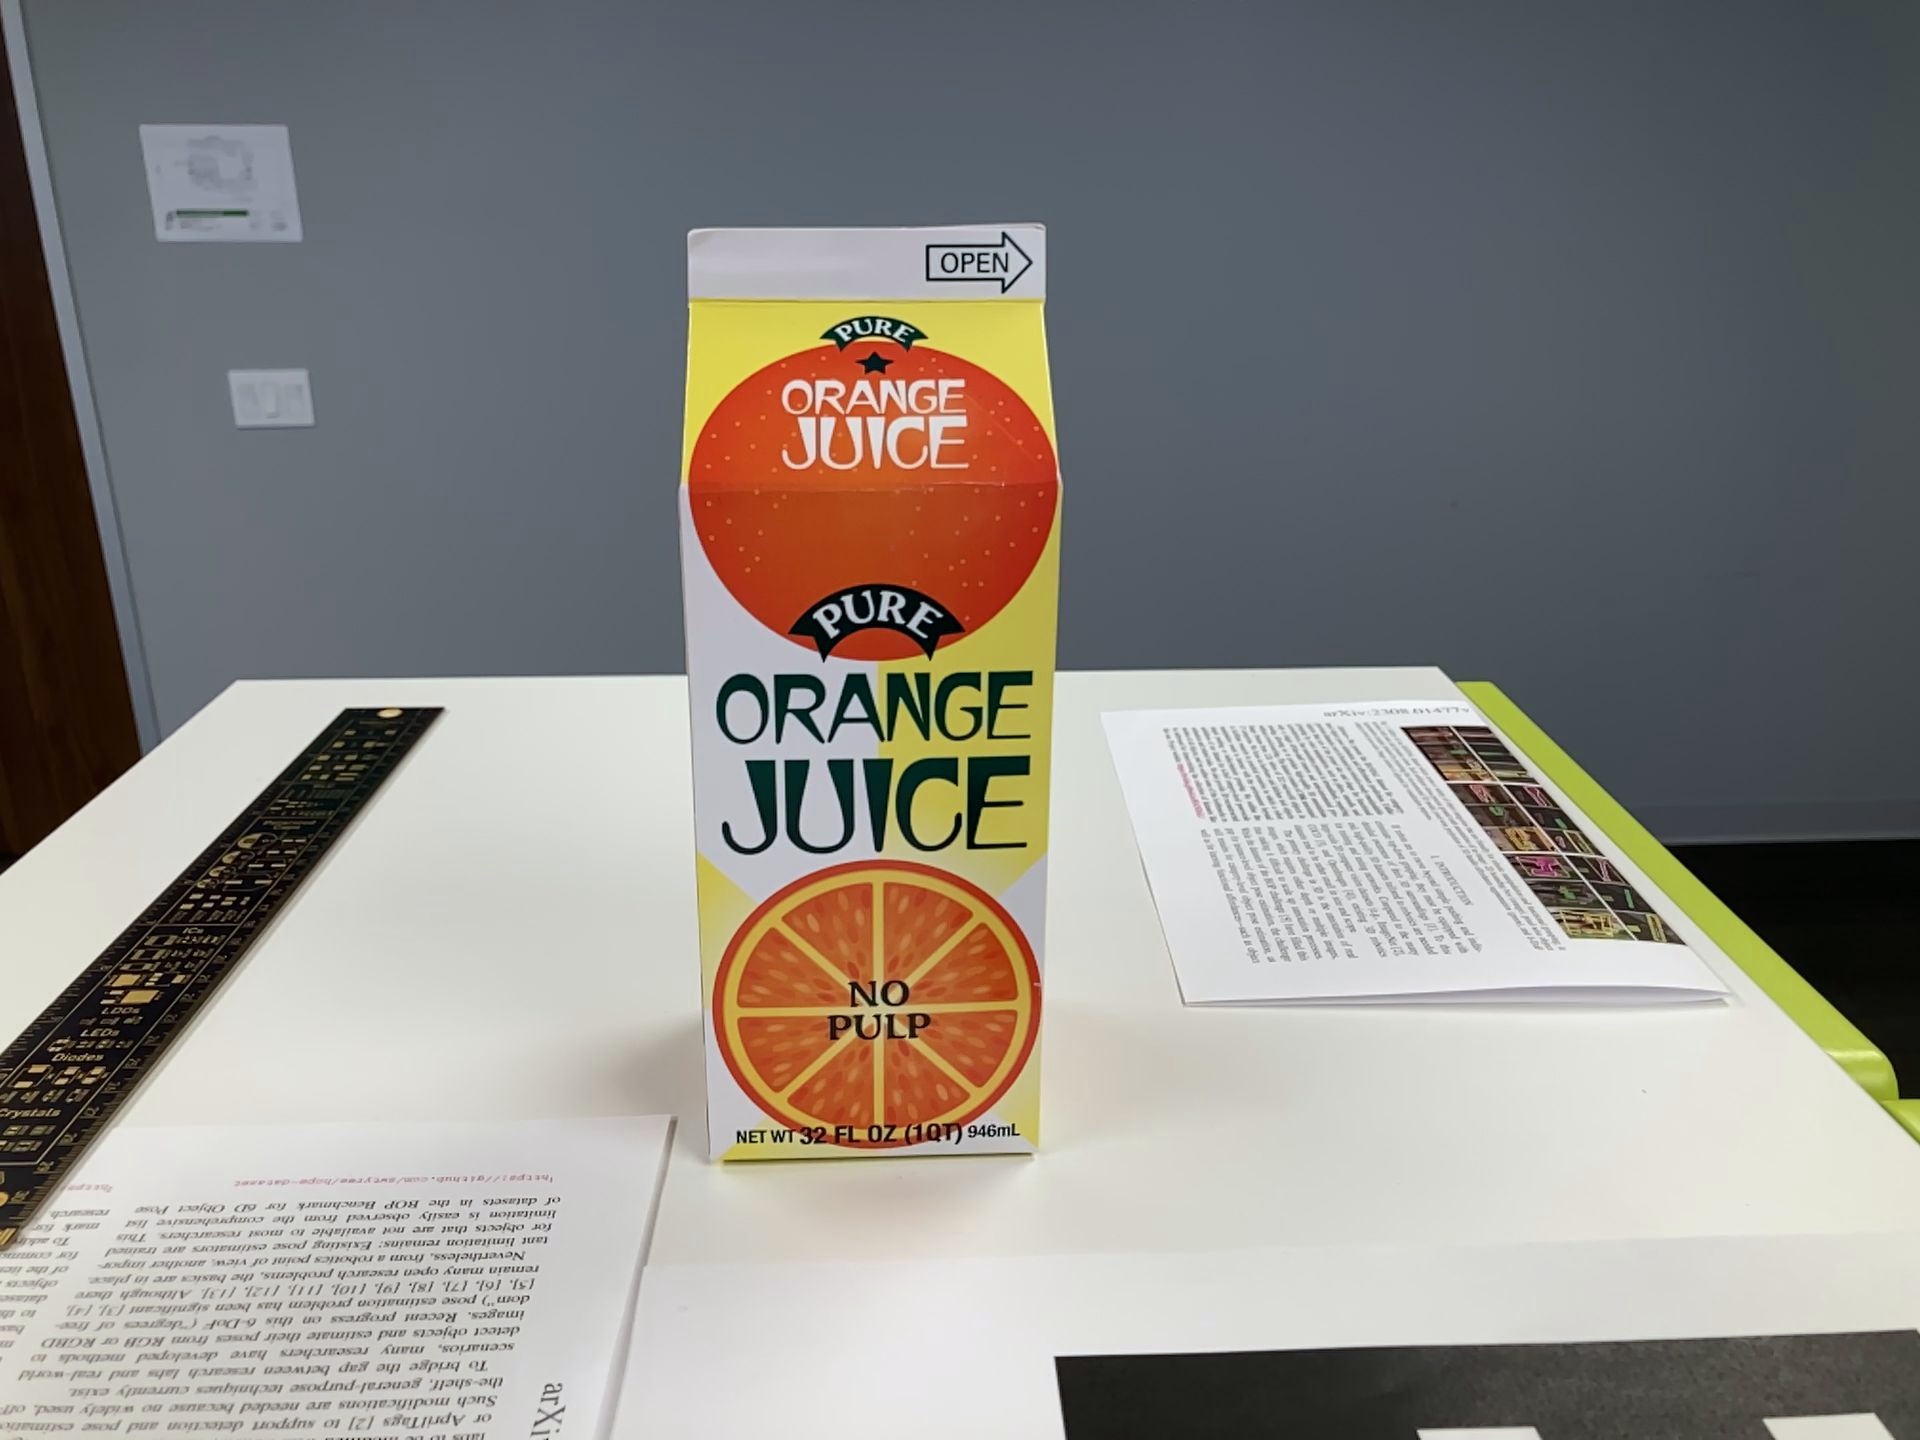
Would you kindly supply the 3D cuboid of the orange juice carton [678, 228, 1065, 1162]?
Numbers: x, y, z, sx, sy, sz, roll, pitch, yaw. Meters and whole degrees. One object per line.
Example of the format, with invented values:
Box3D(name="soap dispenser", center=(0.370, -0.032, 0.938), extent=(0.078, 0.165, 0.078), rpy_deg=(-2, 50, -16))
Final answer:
Box3D(name="orange juice carton", center=(-0.019, -0.005, 0.341), extent=(0.072, 0.192, 0.073), rpy_deg=(0, 21, -4))
